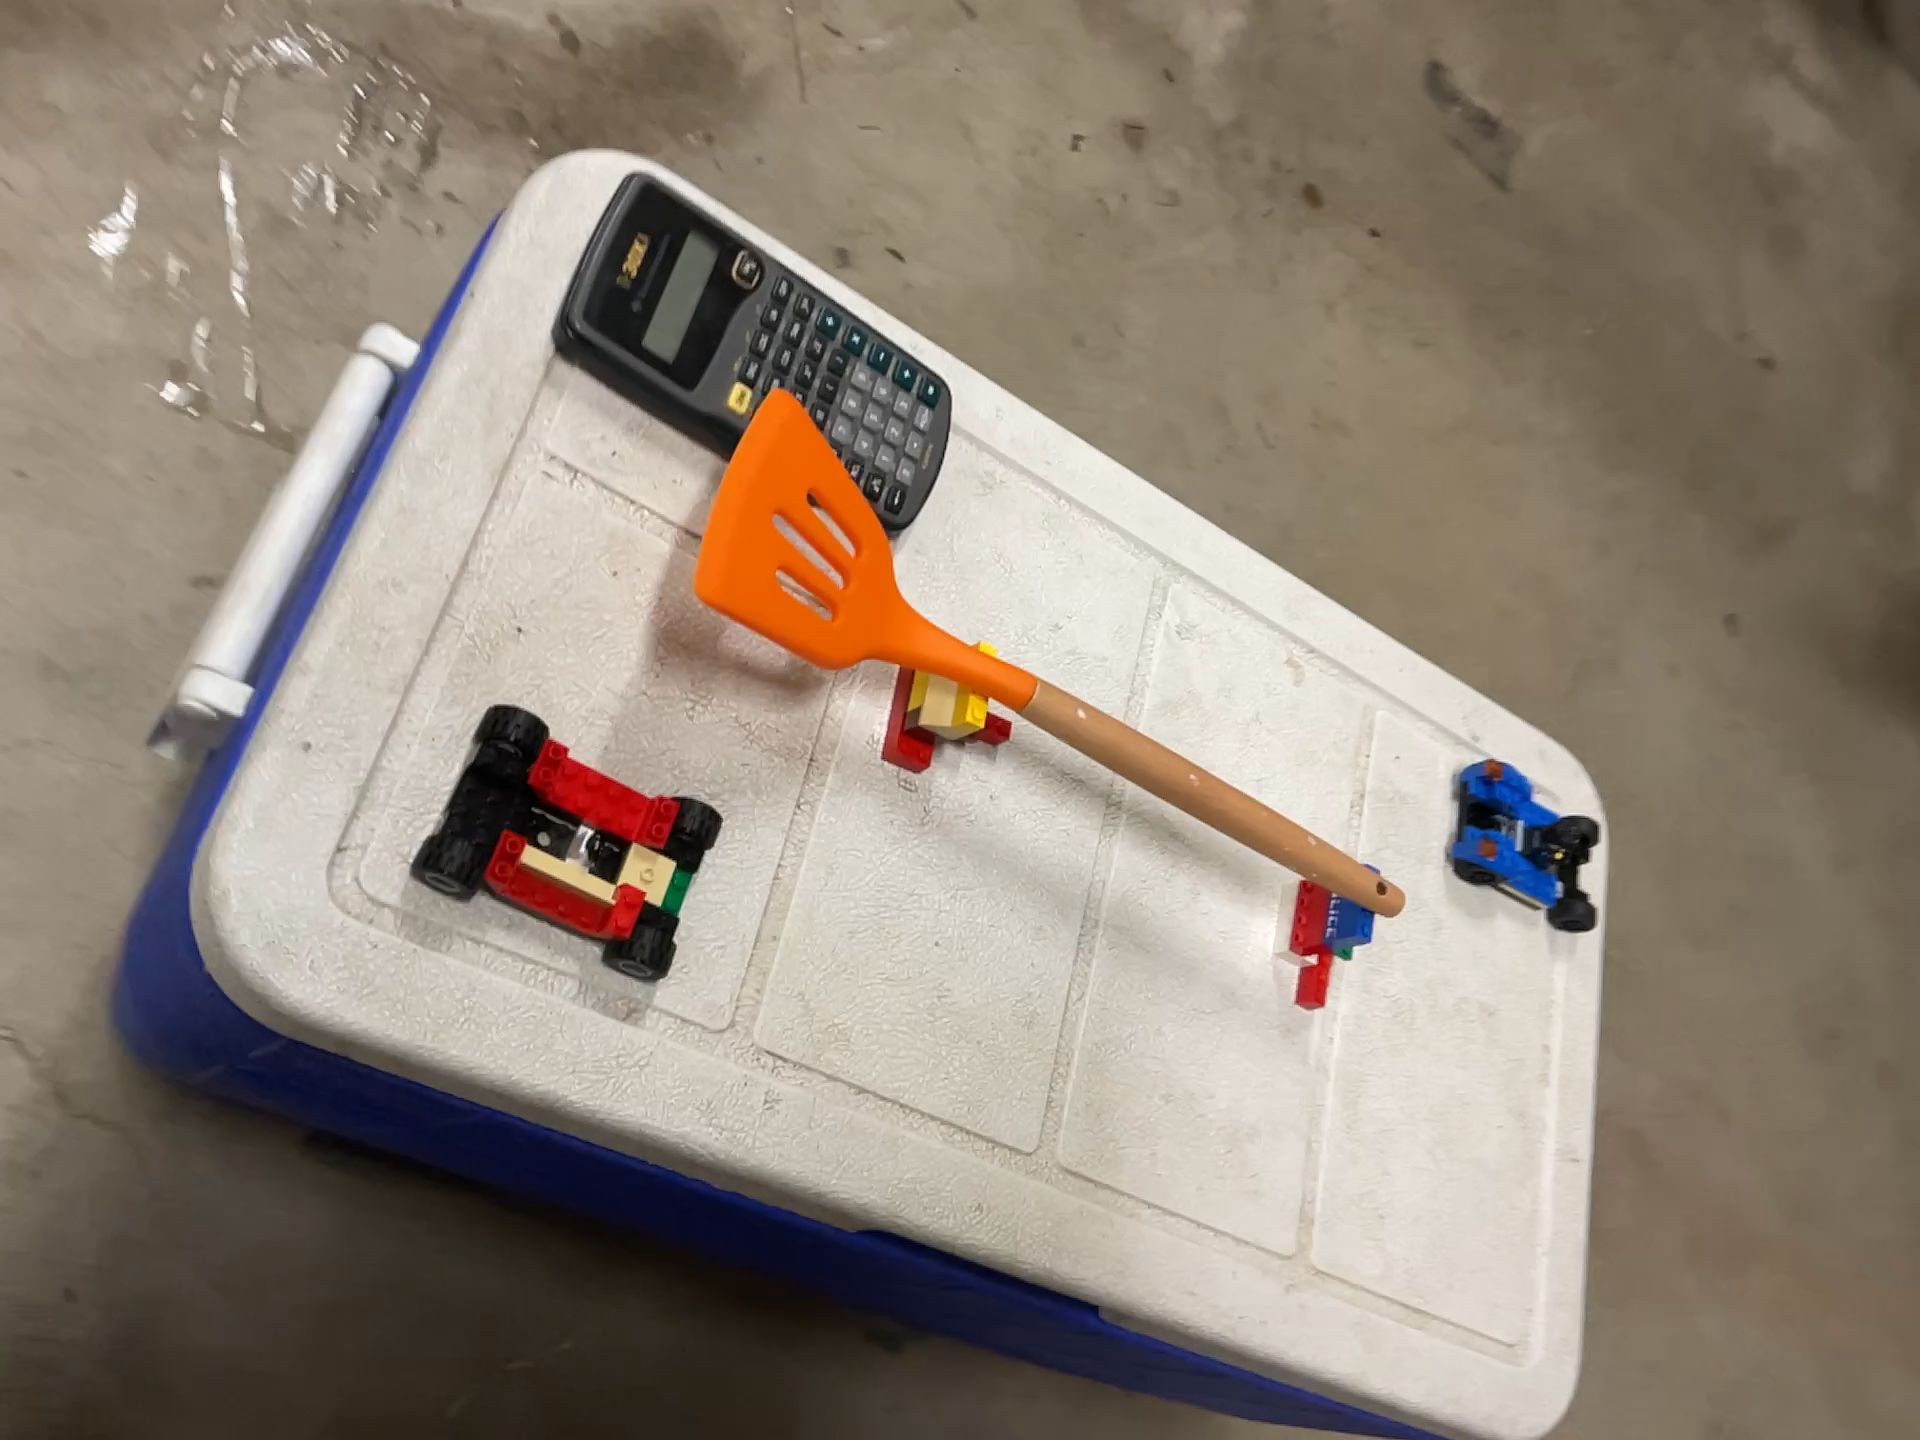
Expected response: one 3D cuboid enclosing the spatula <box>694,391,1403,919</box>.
[{"bbox_3d":[0.048,0.001,0.570,0.322,0.041,0.081,29,64,-23],"label":"spatula"}]
